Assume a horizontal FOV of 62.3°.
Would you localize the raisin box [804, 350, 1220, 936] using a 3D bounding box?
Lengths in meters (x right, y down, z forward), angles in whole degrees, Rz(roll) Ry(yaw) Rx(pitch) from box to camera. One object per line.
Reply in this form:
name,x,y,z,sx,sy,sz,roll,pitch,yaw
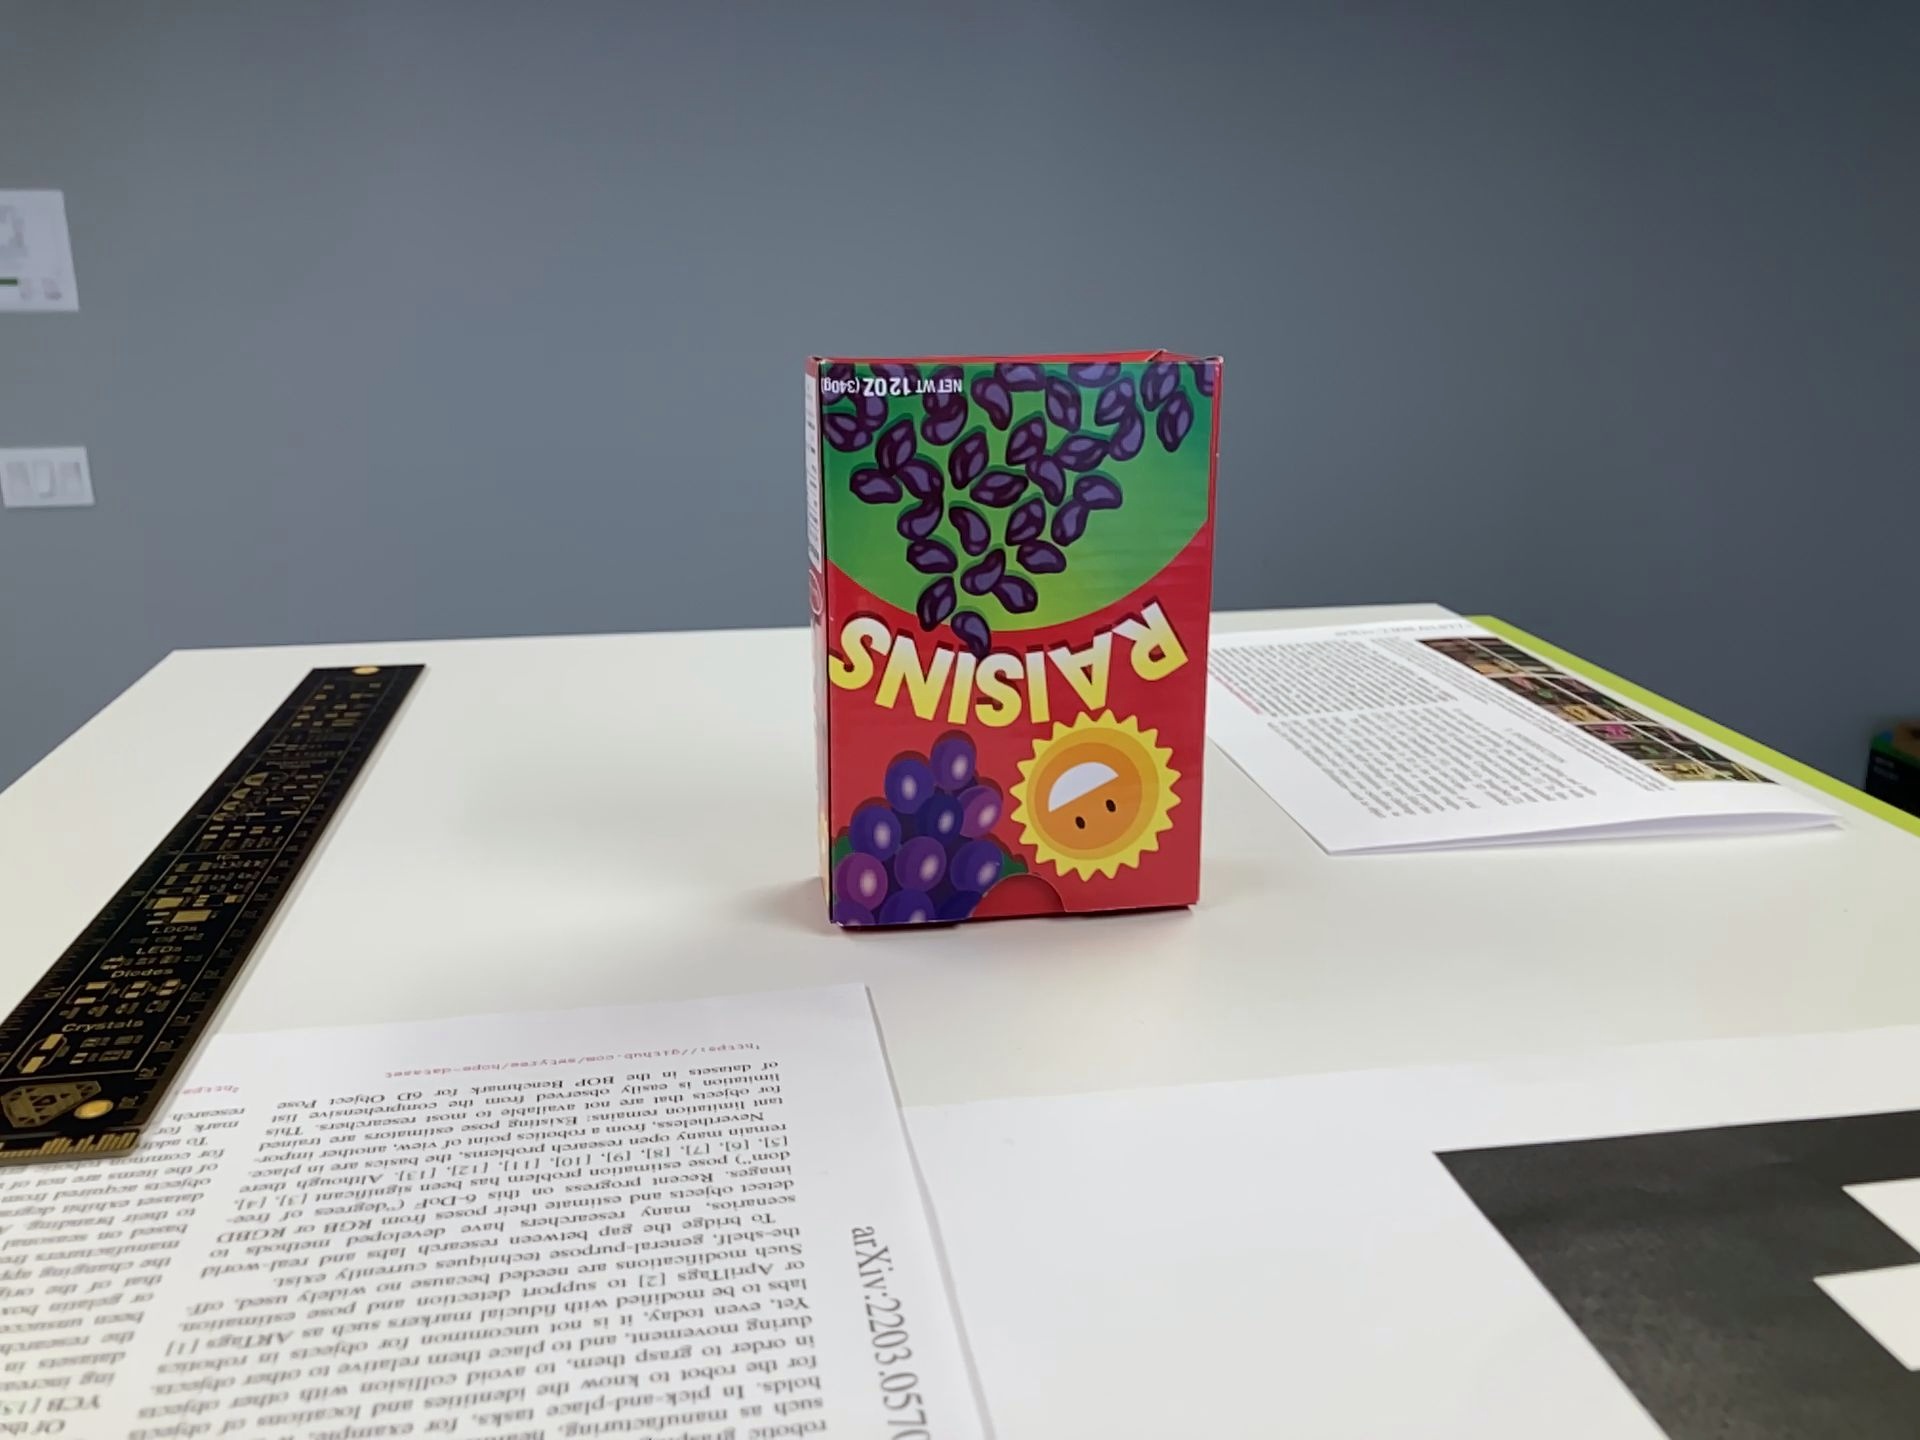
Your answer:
raisin box,0.010,-0.018,0.351,0.086,0.123,0.040,-3,15,-10
